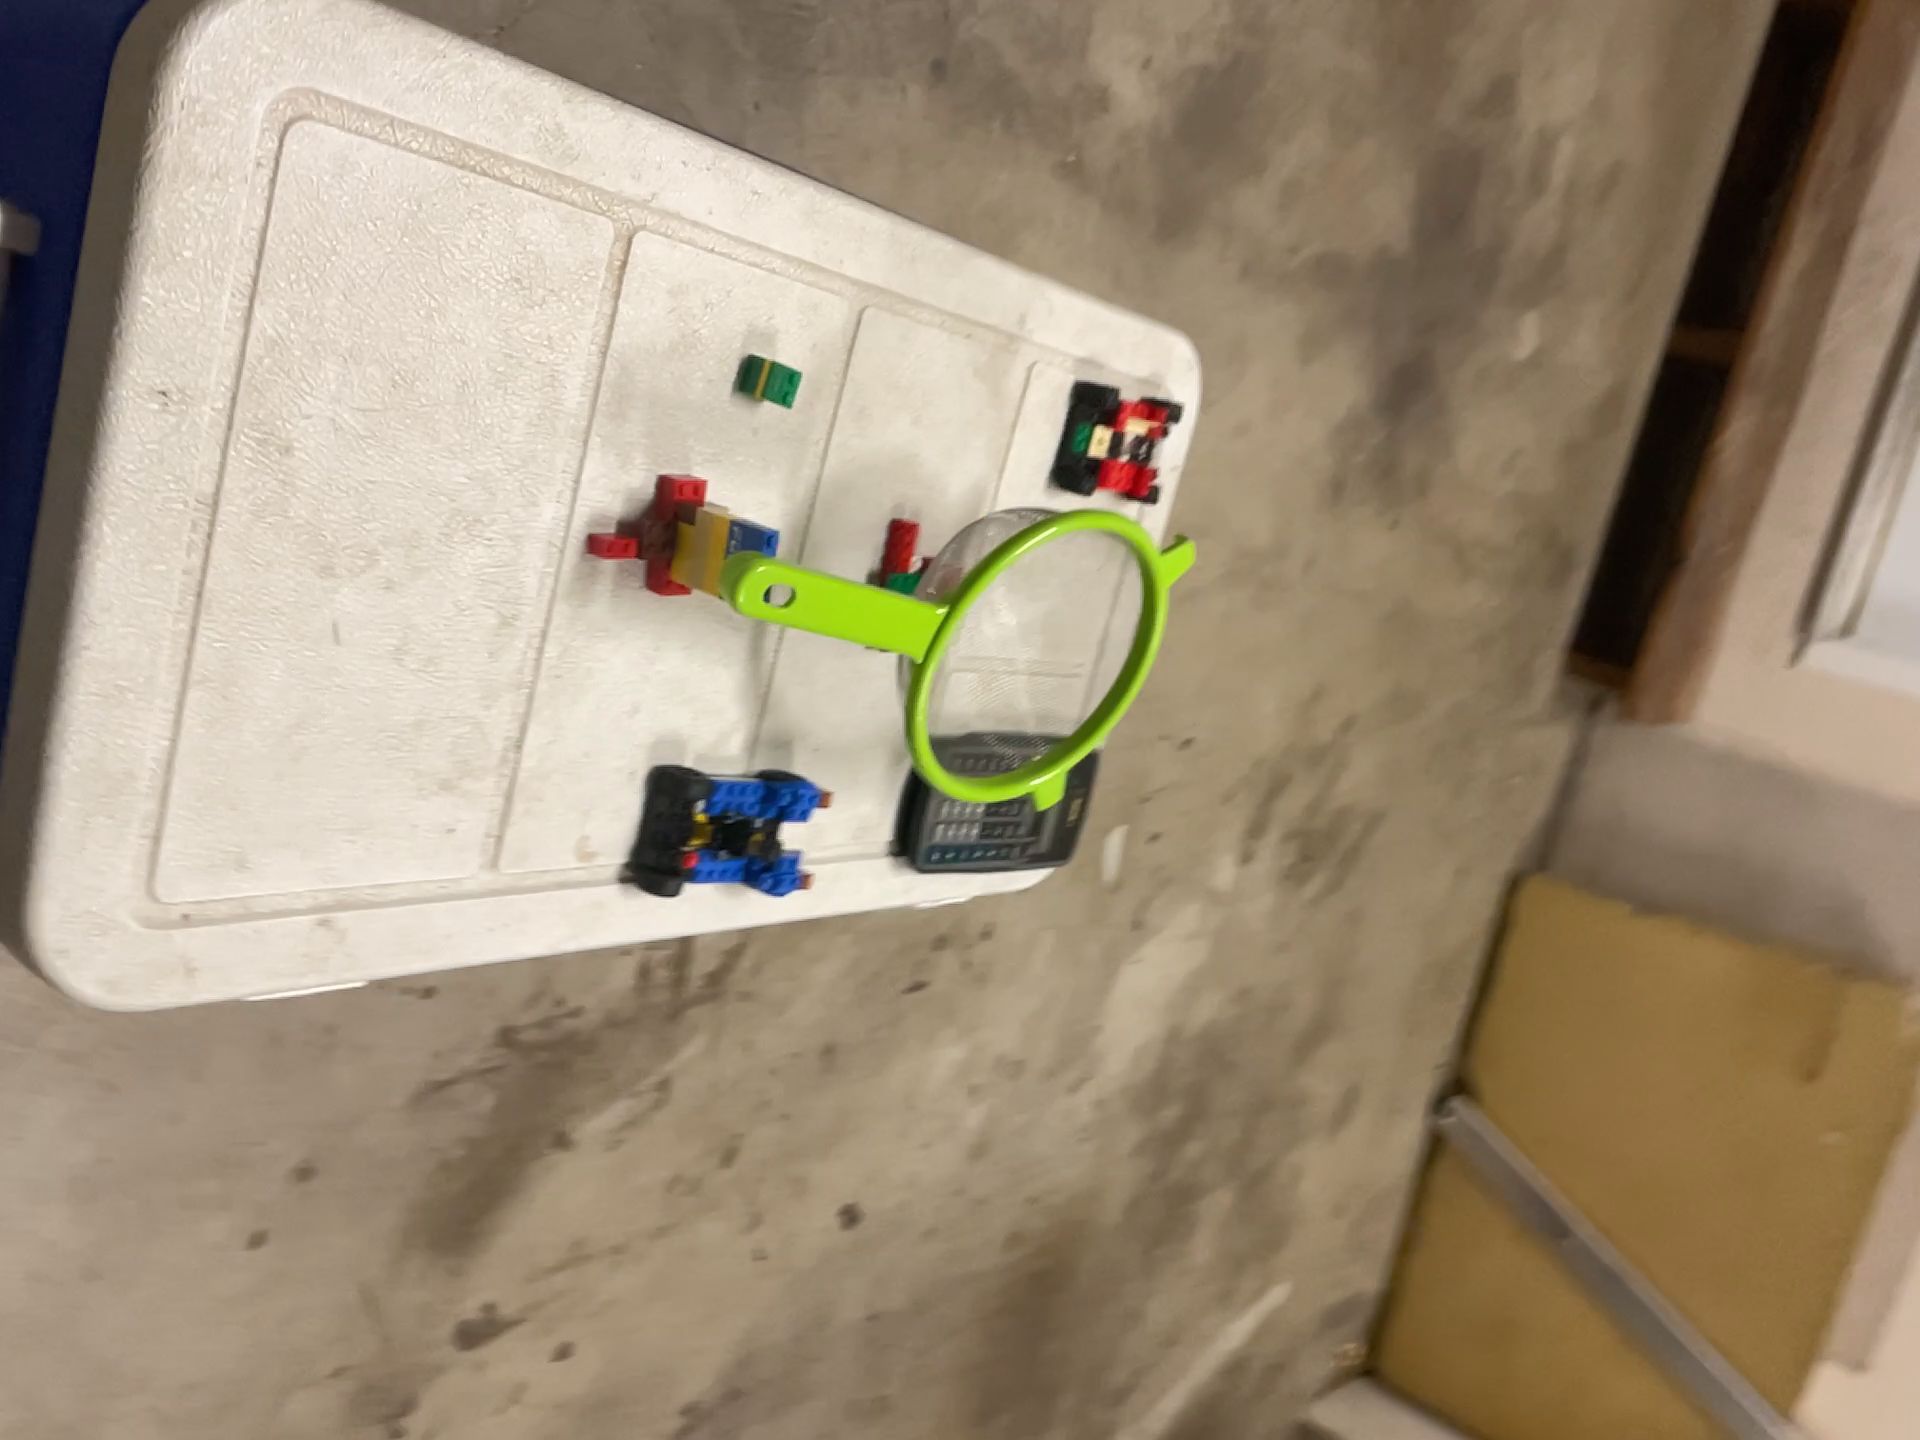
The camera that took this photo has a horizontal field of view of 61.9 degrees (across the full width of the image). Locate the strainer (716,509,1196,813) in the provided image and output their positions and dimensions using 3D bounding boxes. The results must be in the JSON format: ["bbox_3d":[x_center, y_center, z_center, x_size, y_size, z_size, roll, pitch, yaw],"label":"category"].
[{"bbox_3d":[-0.015,-0.047,0.705,0.256,0.069,0.151,12,112,-47],"label":"strainer"}]
